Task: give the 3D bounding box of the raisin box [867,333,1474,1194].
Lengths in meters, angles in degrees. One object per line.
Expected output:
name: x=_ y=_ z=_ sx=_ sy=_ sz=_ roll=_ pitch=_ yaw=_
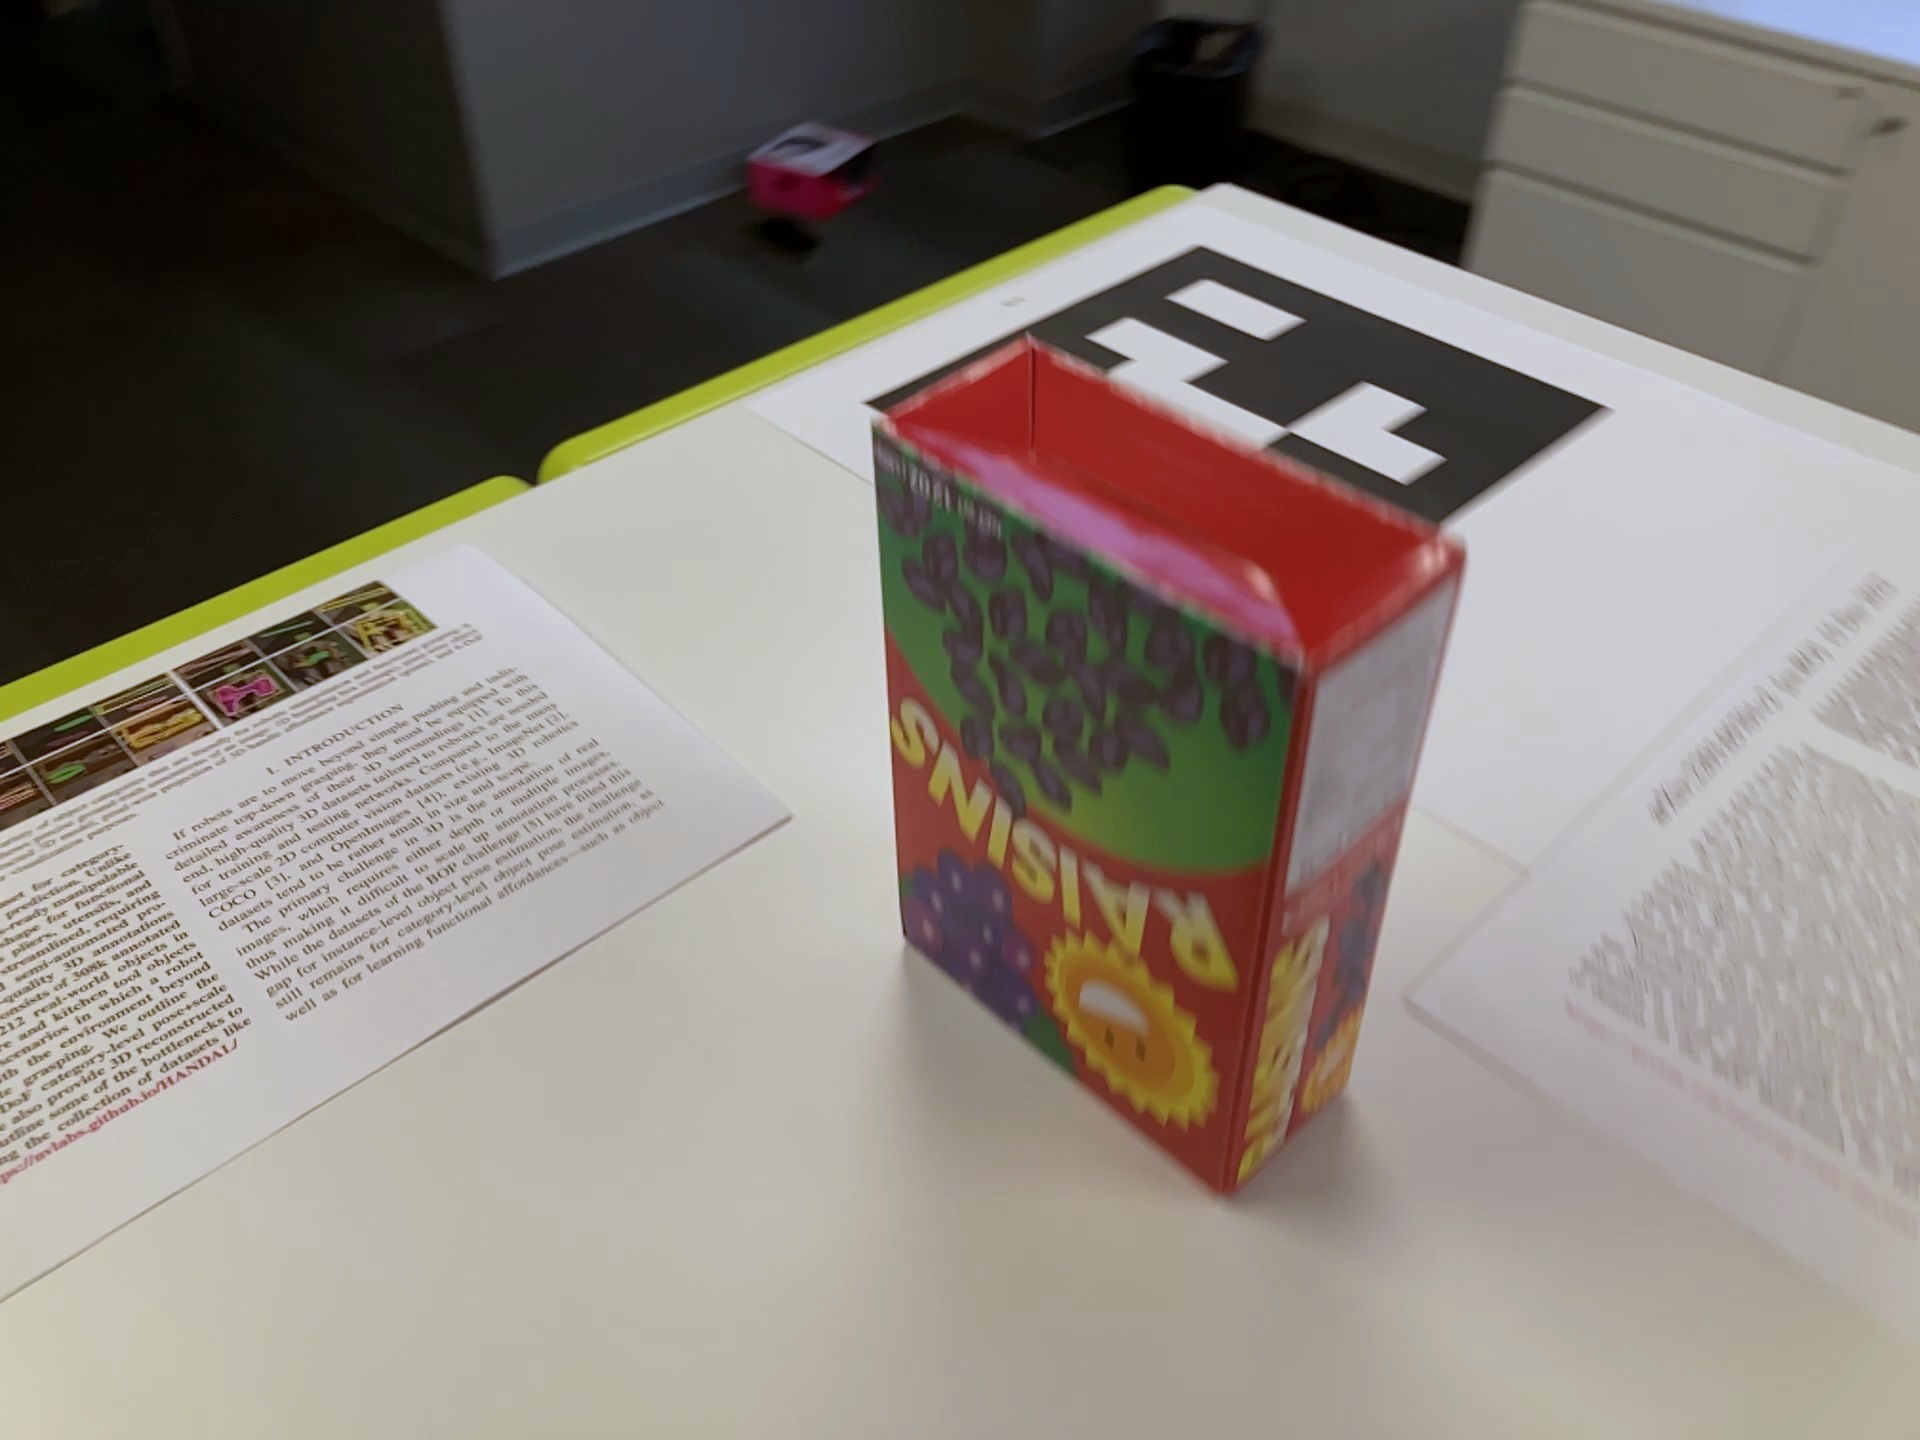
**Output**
raisin box: x=0.029 y=0.010 z=0.267 sx=0.040 sy=0.123 sz=0.086 roll=-34 pitch=51 yaw=-31
